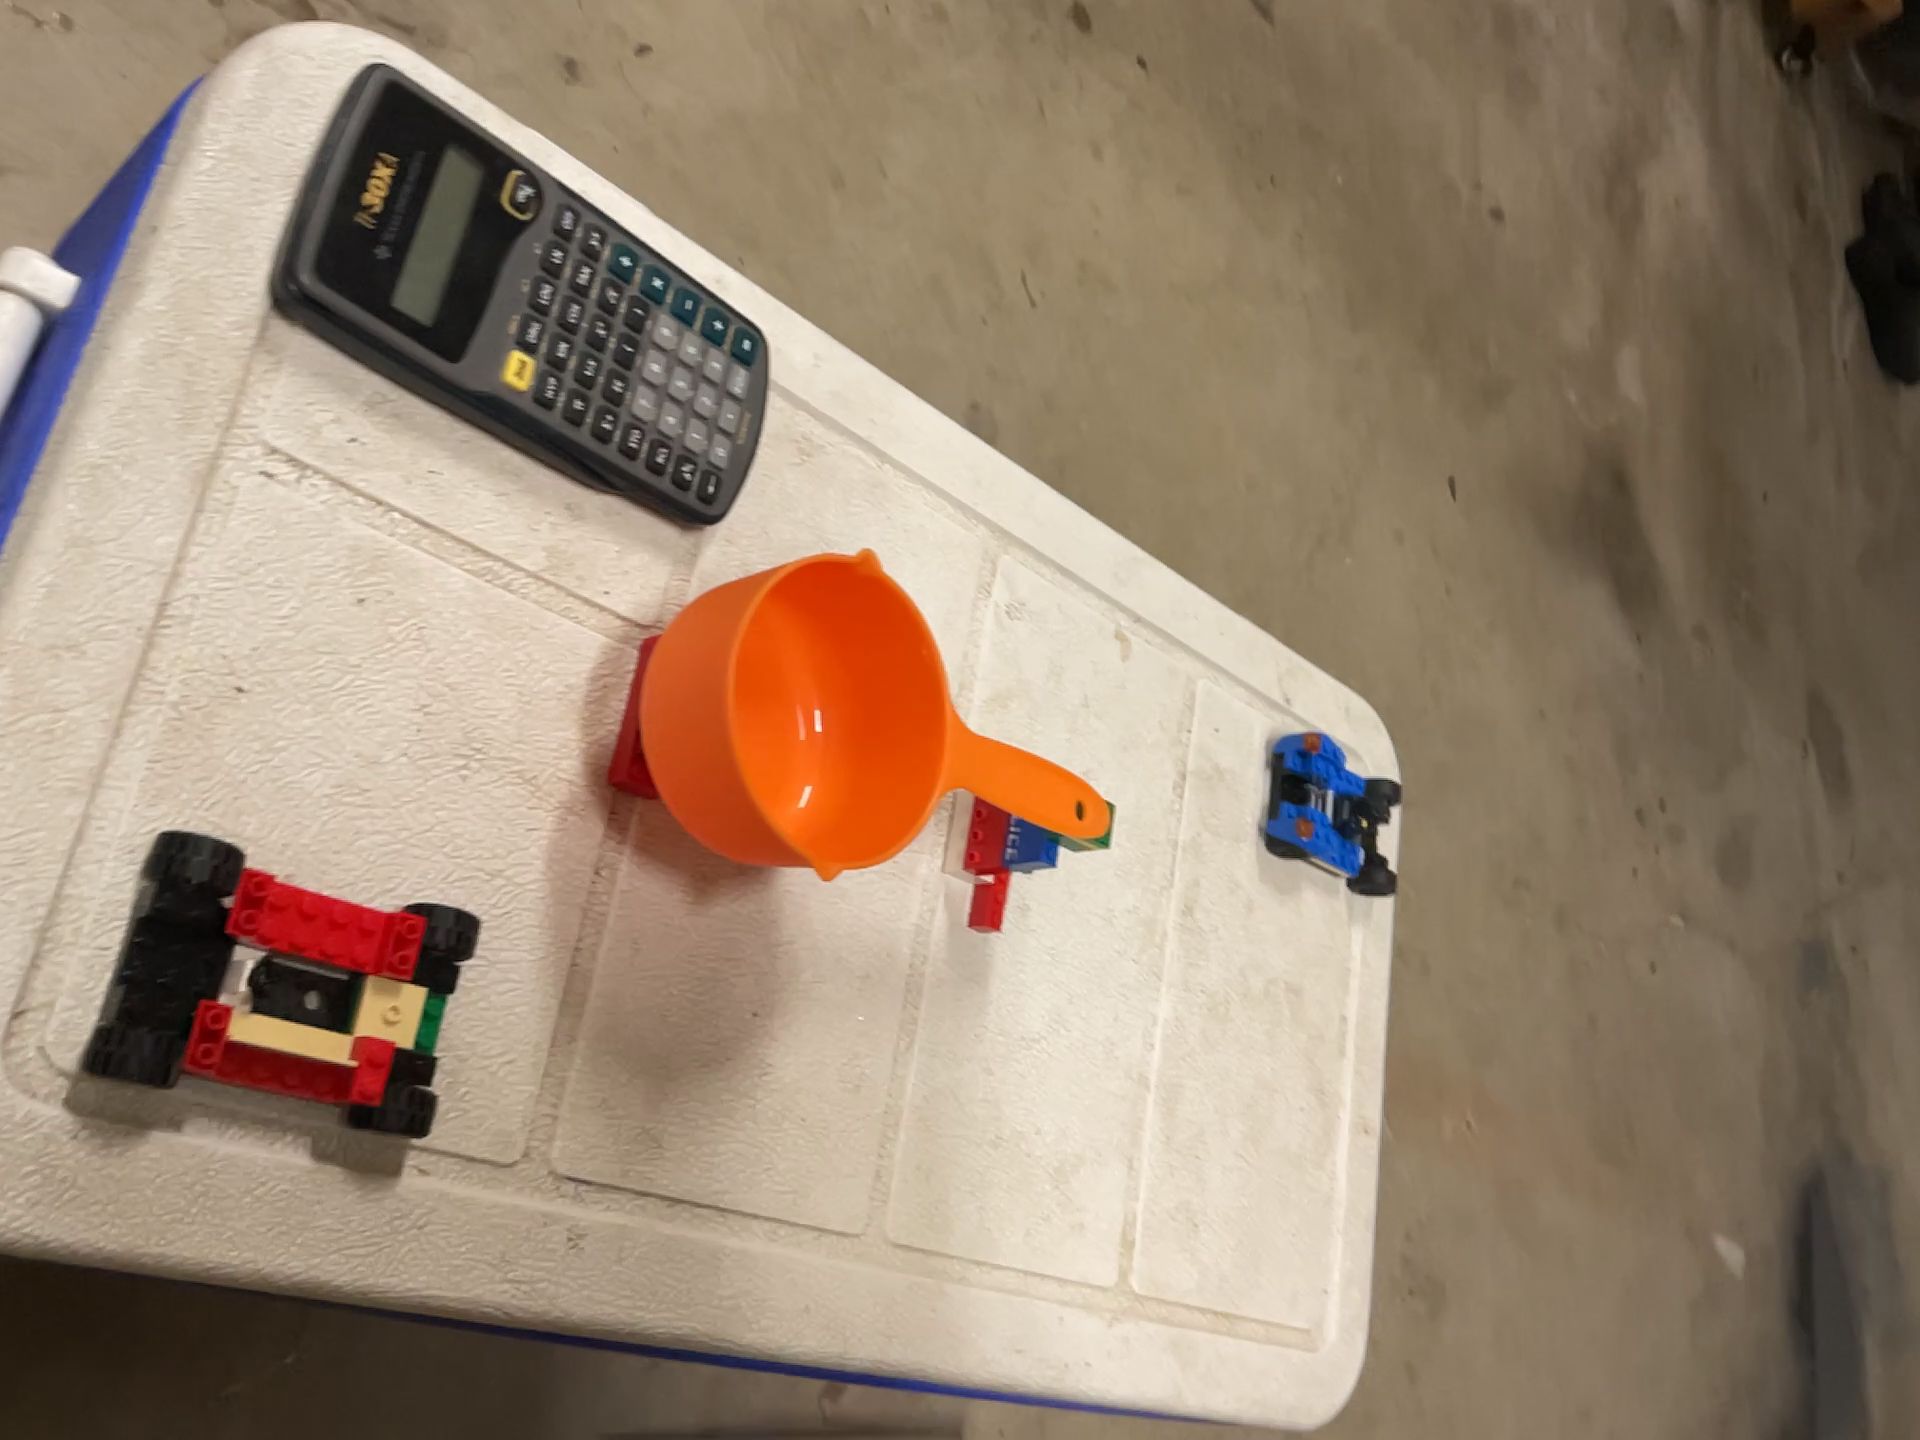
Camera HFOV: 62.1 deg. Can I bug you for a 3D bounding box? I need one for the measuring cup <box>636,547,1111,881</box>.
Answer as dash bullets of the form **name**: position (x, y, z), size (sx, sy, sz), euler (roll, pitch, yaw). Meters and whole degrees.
- **measuring cup**: position (-0.022, 0.011, 0.483), size (0.173, 0.052, 0.095), euler (24, 66, -46)
